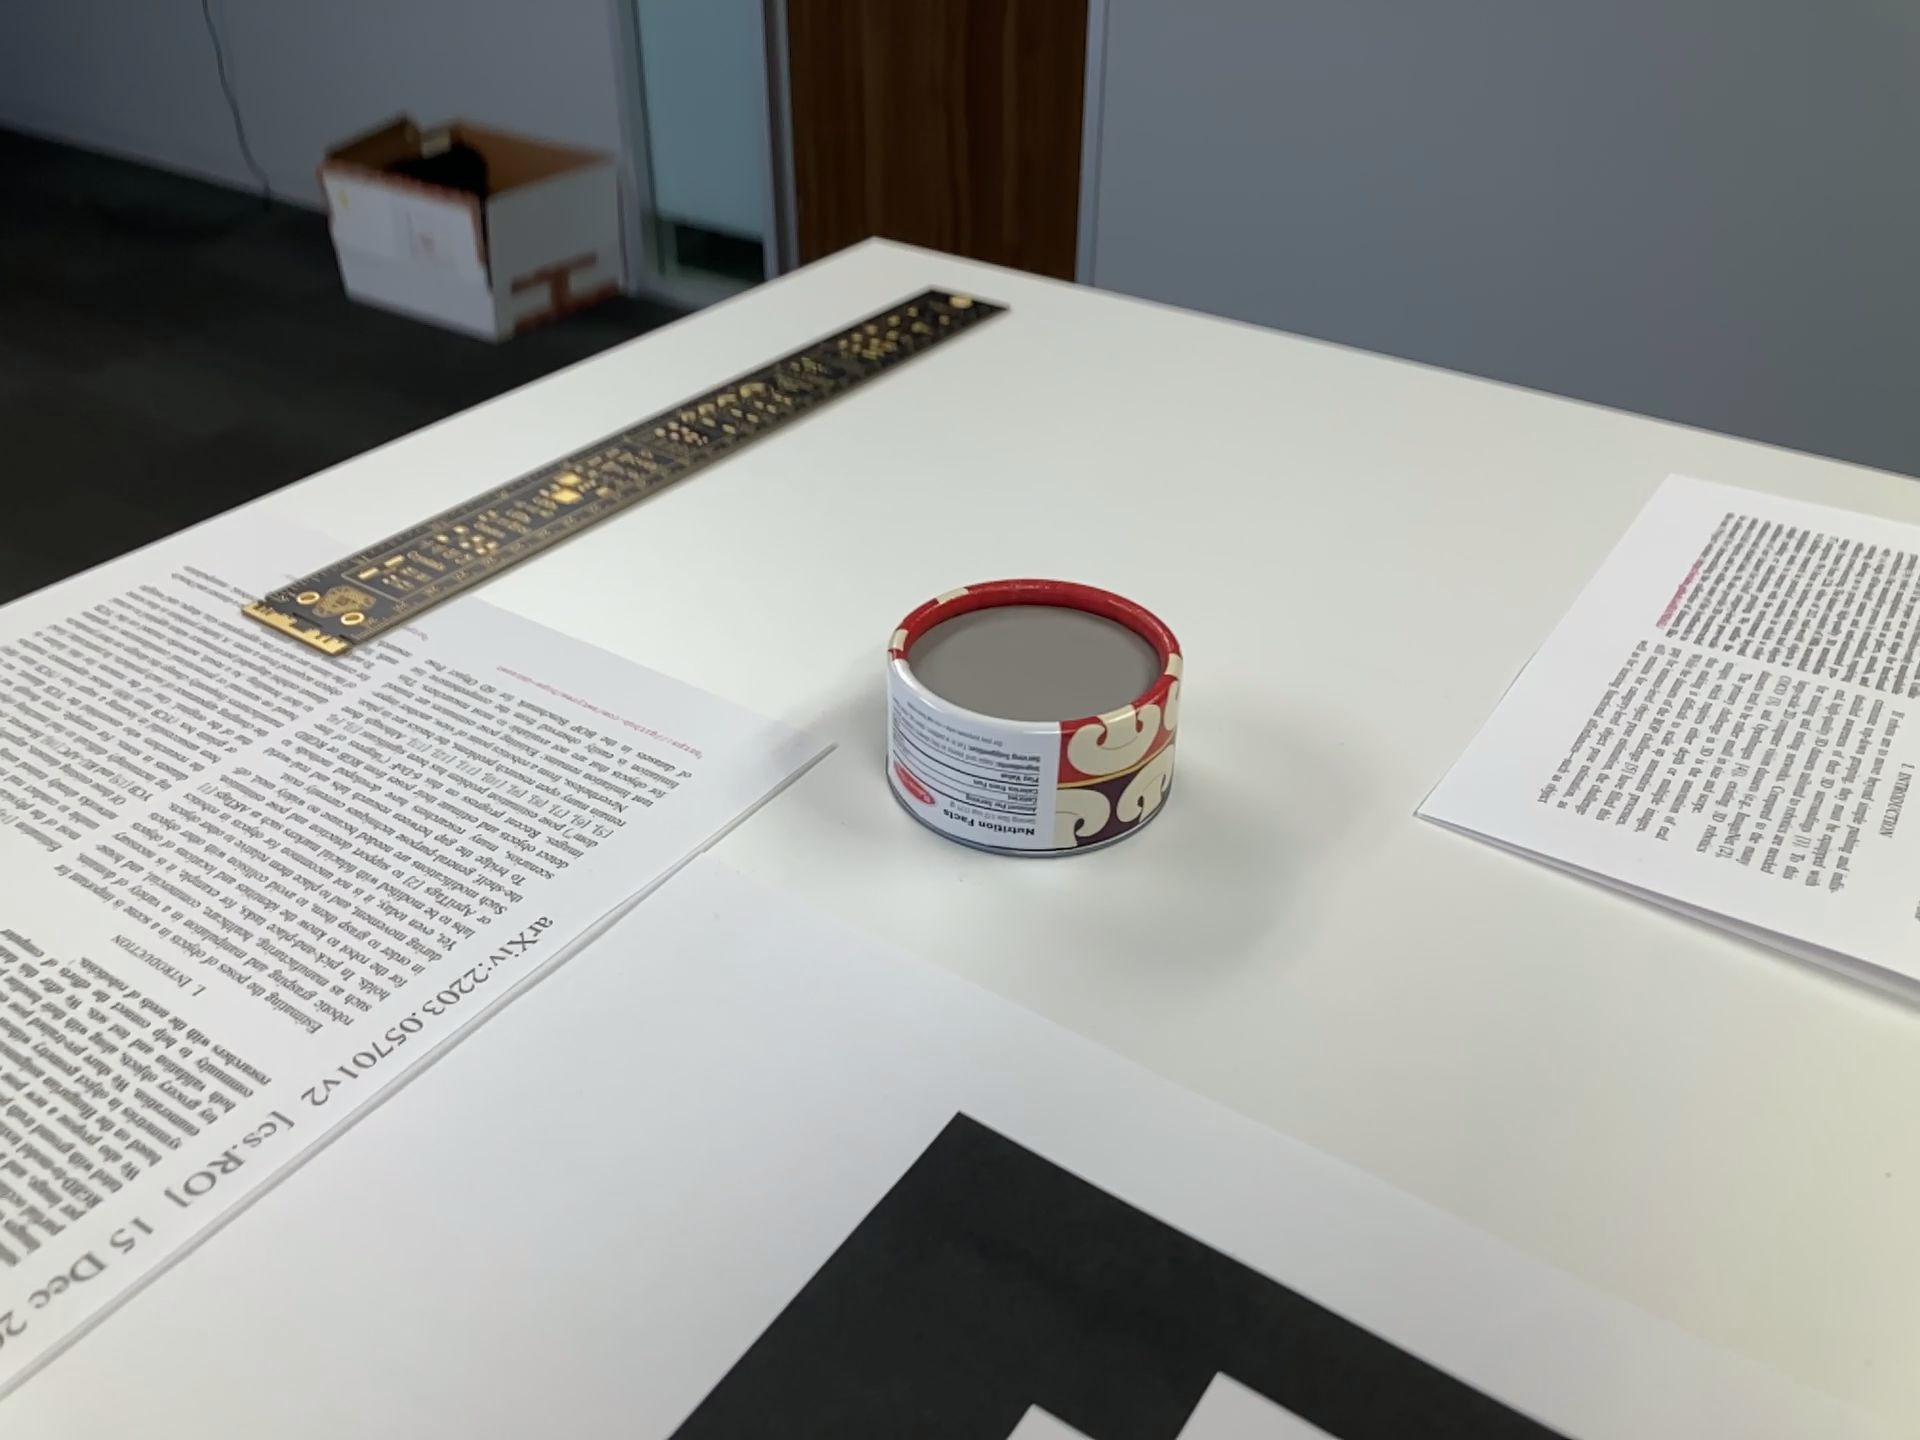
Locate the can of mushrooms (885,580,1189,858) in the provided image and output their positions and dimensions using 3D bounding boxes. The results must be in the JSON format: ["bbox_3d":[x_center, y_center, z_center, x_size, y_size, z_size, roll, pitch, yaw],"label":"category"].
[{"bbox_3d":[0.018,-0.003,0.354,0.071,0.033,0.071,1,33,0],"label":"can of mushrooms"}]
